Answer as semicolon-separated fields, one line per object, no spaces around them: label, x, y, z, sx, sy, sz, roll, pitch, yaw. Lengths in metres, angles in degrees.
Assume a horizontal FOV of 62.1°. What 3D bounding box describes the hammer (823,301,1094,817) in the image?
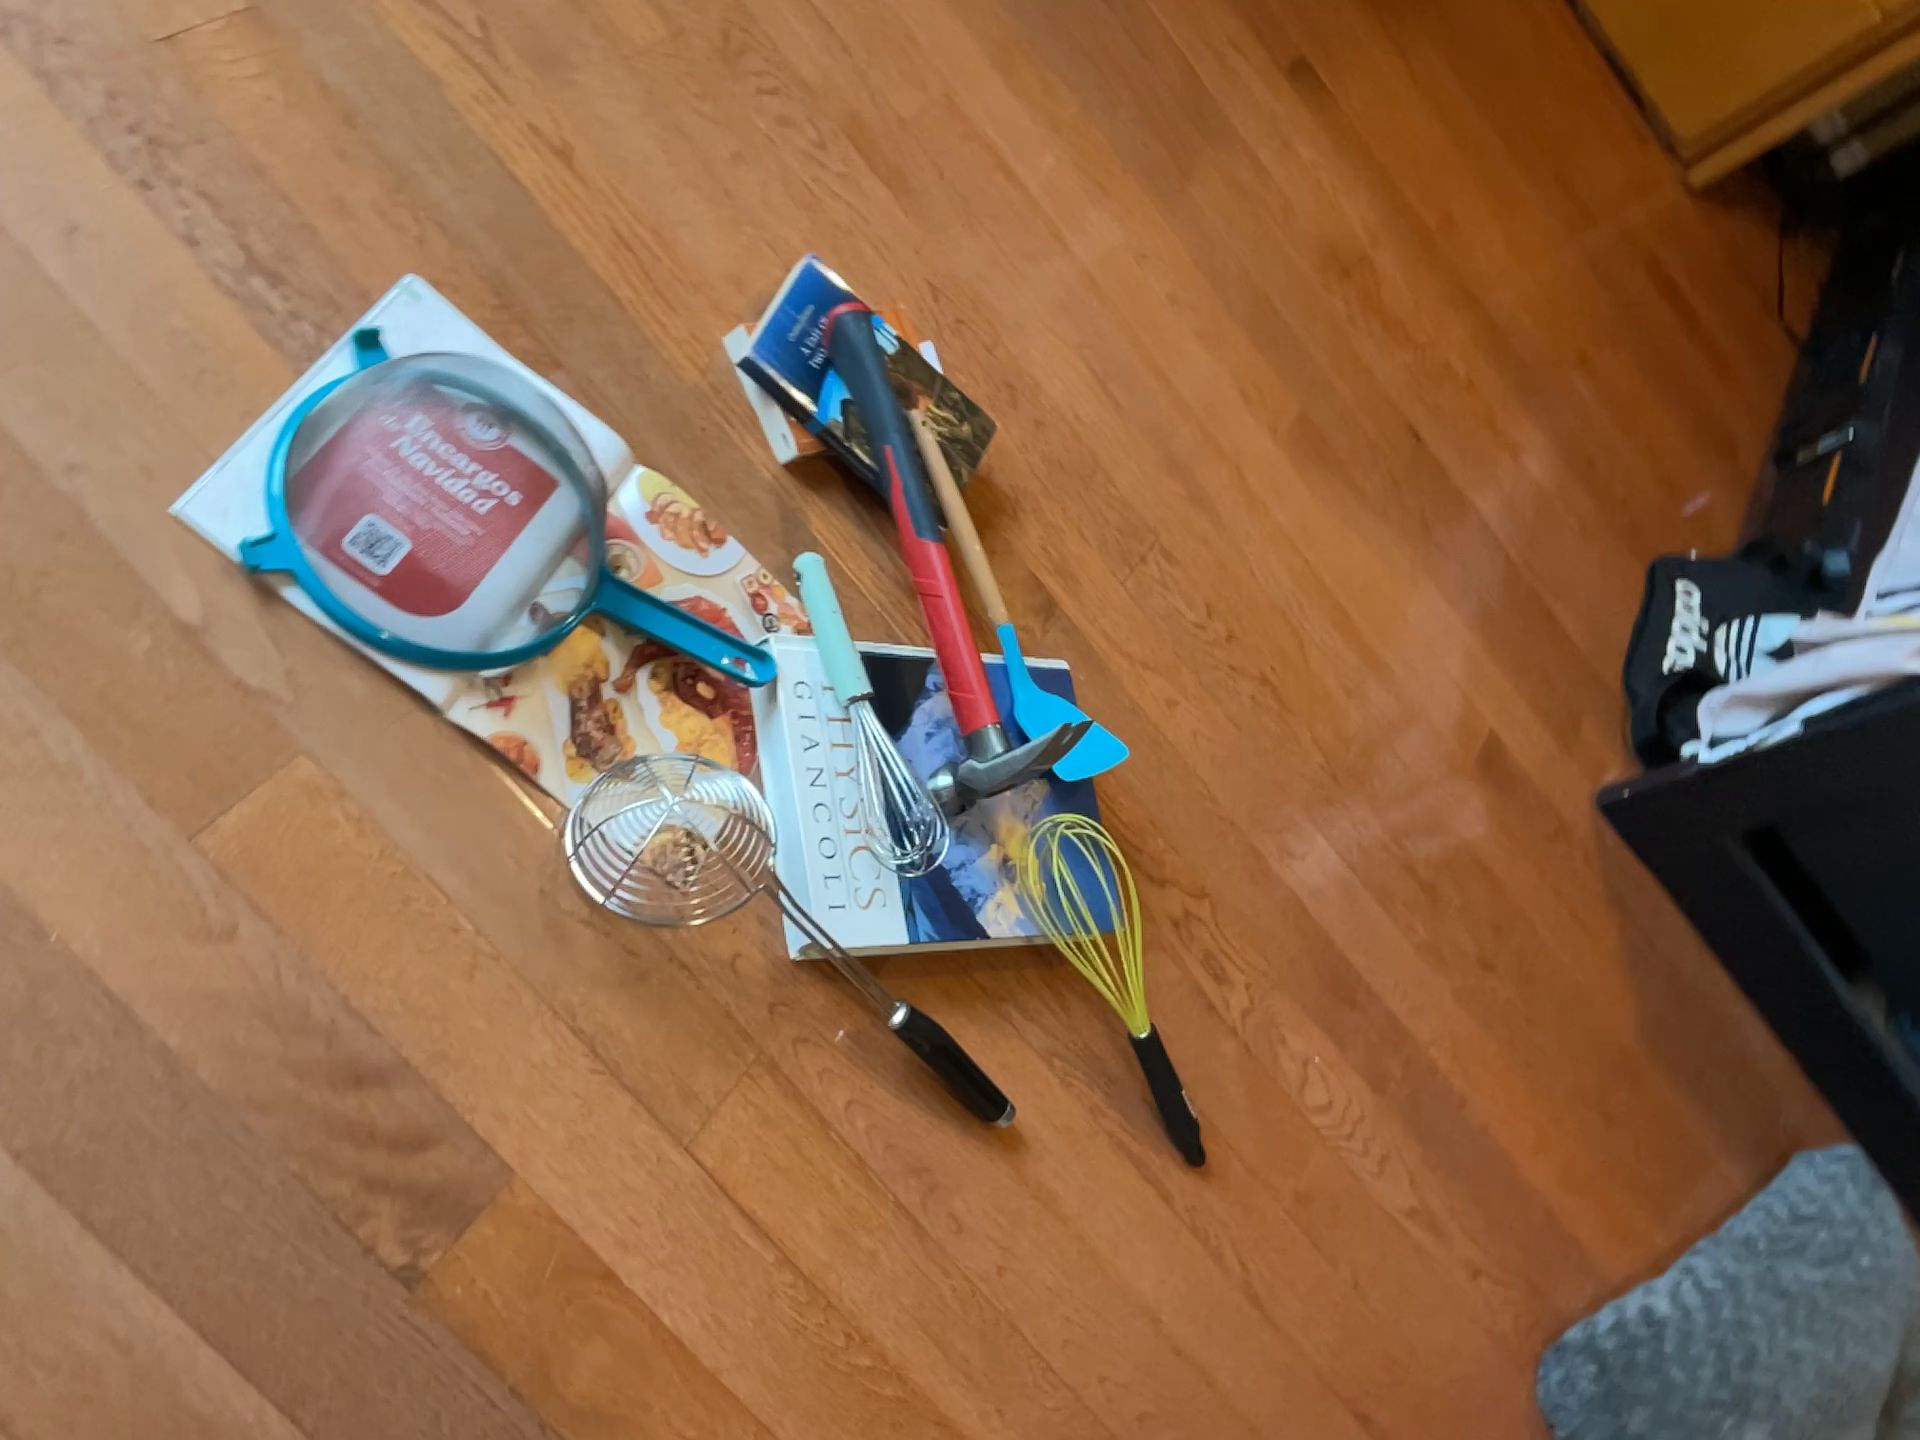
hammer;-0.019;-0.135;1.135;0.038;0.143;0.387;-3;69;-44

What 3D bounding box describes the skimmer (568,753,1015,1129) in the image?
skimmer;-0.099;0.160;1.046;0.363;0.090;0.128;49;44;-26

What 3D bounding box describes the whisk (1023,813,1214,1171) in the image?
whisk;0.124;0.207;1.169;0.311;0.067;0.080;65;29;-17

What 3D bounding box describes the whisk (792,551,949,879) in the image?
whisk;-0.068;-0.006;1.093;0.059;0.057;0.246;-17;75;-12

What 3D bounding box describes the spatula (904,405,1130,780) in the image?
spatula;0.029;-0.101;1.214;0.082;0.044;0.317;-18;82;-42

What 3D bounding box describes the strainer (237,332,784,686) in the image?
strainer;-0.247;-0.115;0.991;0.340;0.095;0.211;26;54;-20
